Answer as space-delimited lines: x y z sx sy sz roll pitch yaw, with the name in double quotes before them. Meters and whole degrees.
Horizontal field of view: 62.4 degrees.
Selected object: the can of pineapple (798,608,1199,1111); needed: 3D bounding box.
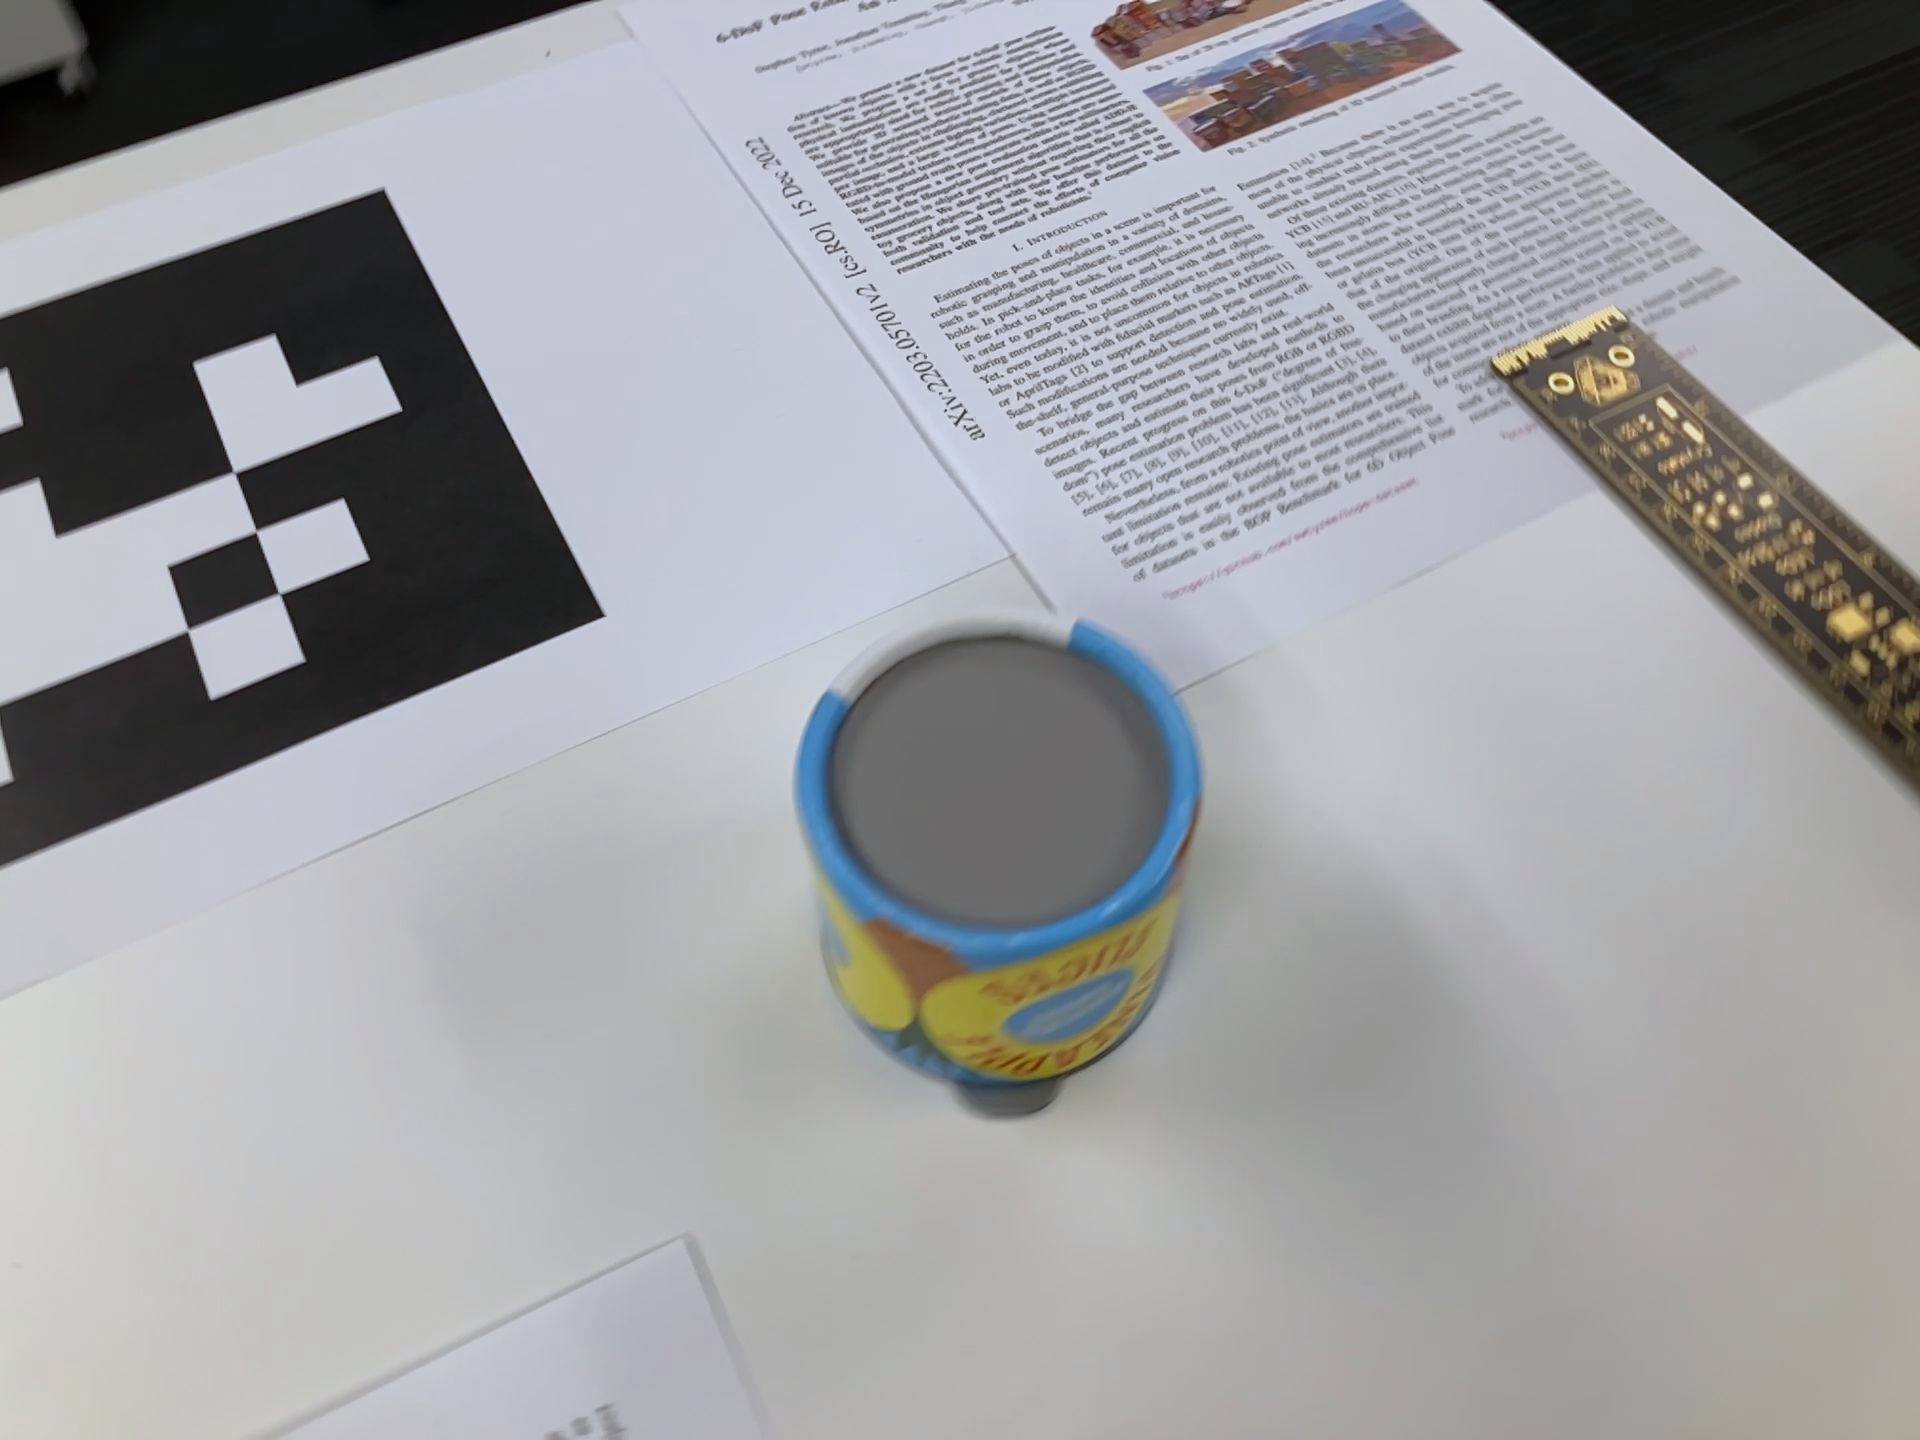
"can of pineapple" 0.007 0.024 0.279 0.071 0.058 0.071 -1 58 1
